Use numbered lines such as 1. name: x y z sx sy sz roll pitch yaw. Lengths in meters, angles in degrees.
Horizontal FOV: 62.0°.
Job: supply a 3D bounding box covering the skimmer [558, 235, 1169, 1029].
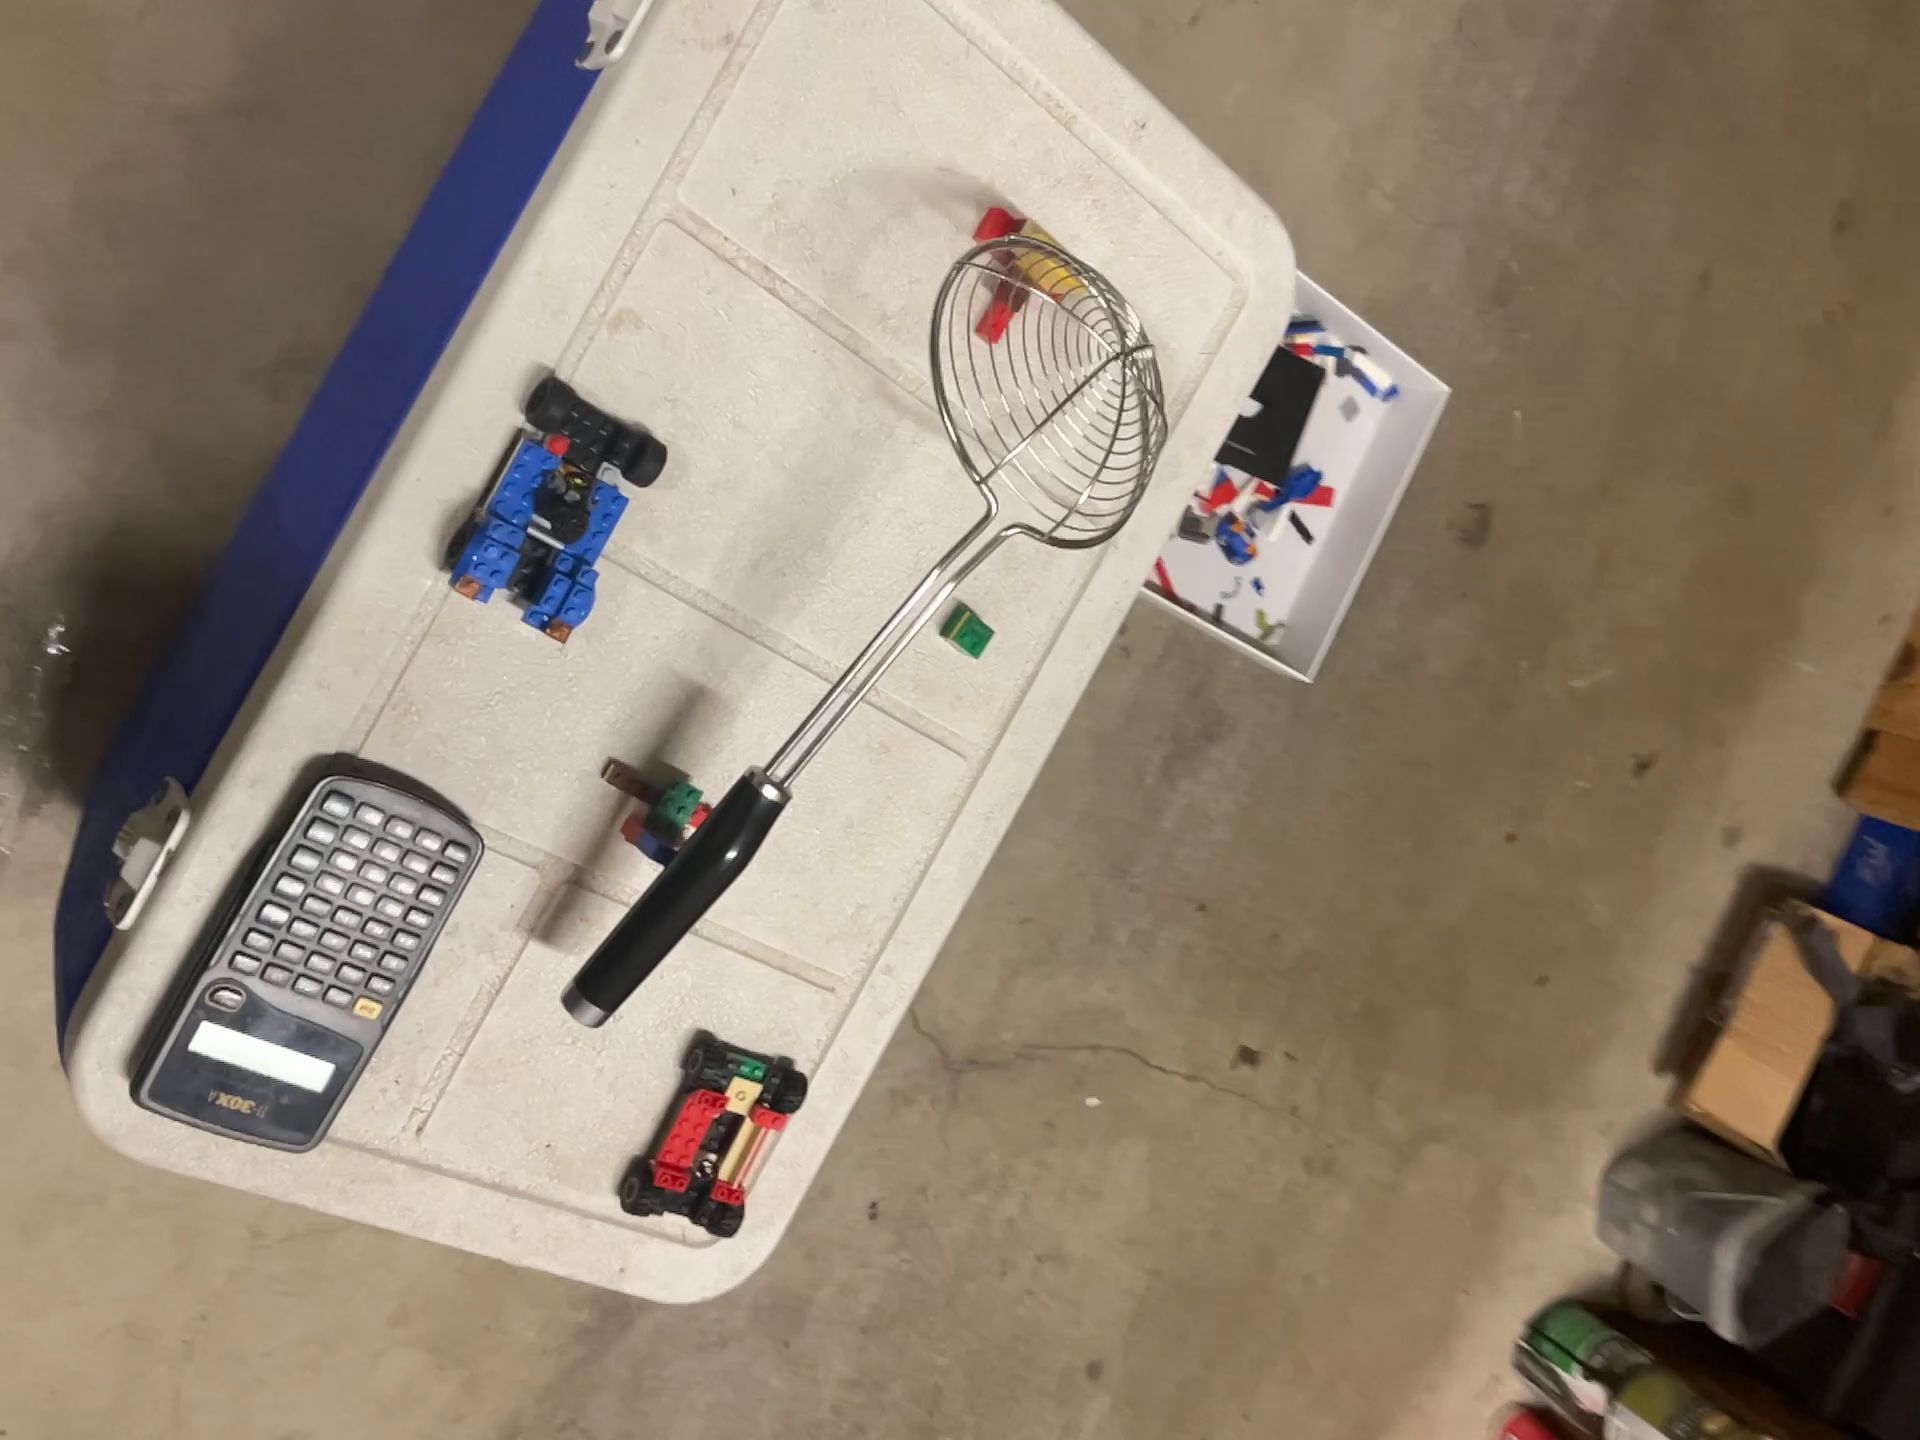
1. skimmer: -0.048 -0.032 0.653 0.127 0.090 0.363 37 97 -33
